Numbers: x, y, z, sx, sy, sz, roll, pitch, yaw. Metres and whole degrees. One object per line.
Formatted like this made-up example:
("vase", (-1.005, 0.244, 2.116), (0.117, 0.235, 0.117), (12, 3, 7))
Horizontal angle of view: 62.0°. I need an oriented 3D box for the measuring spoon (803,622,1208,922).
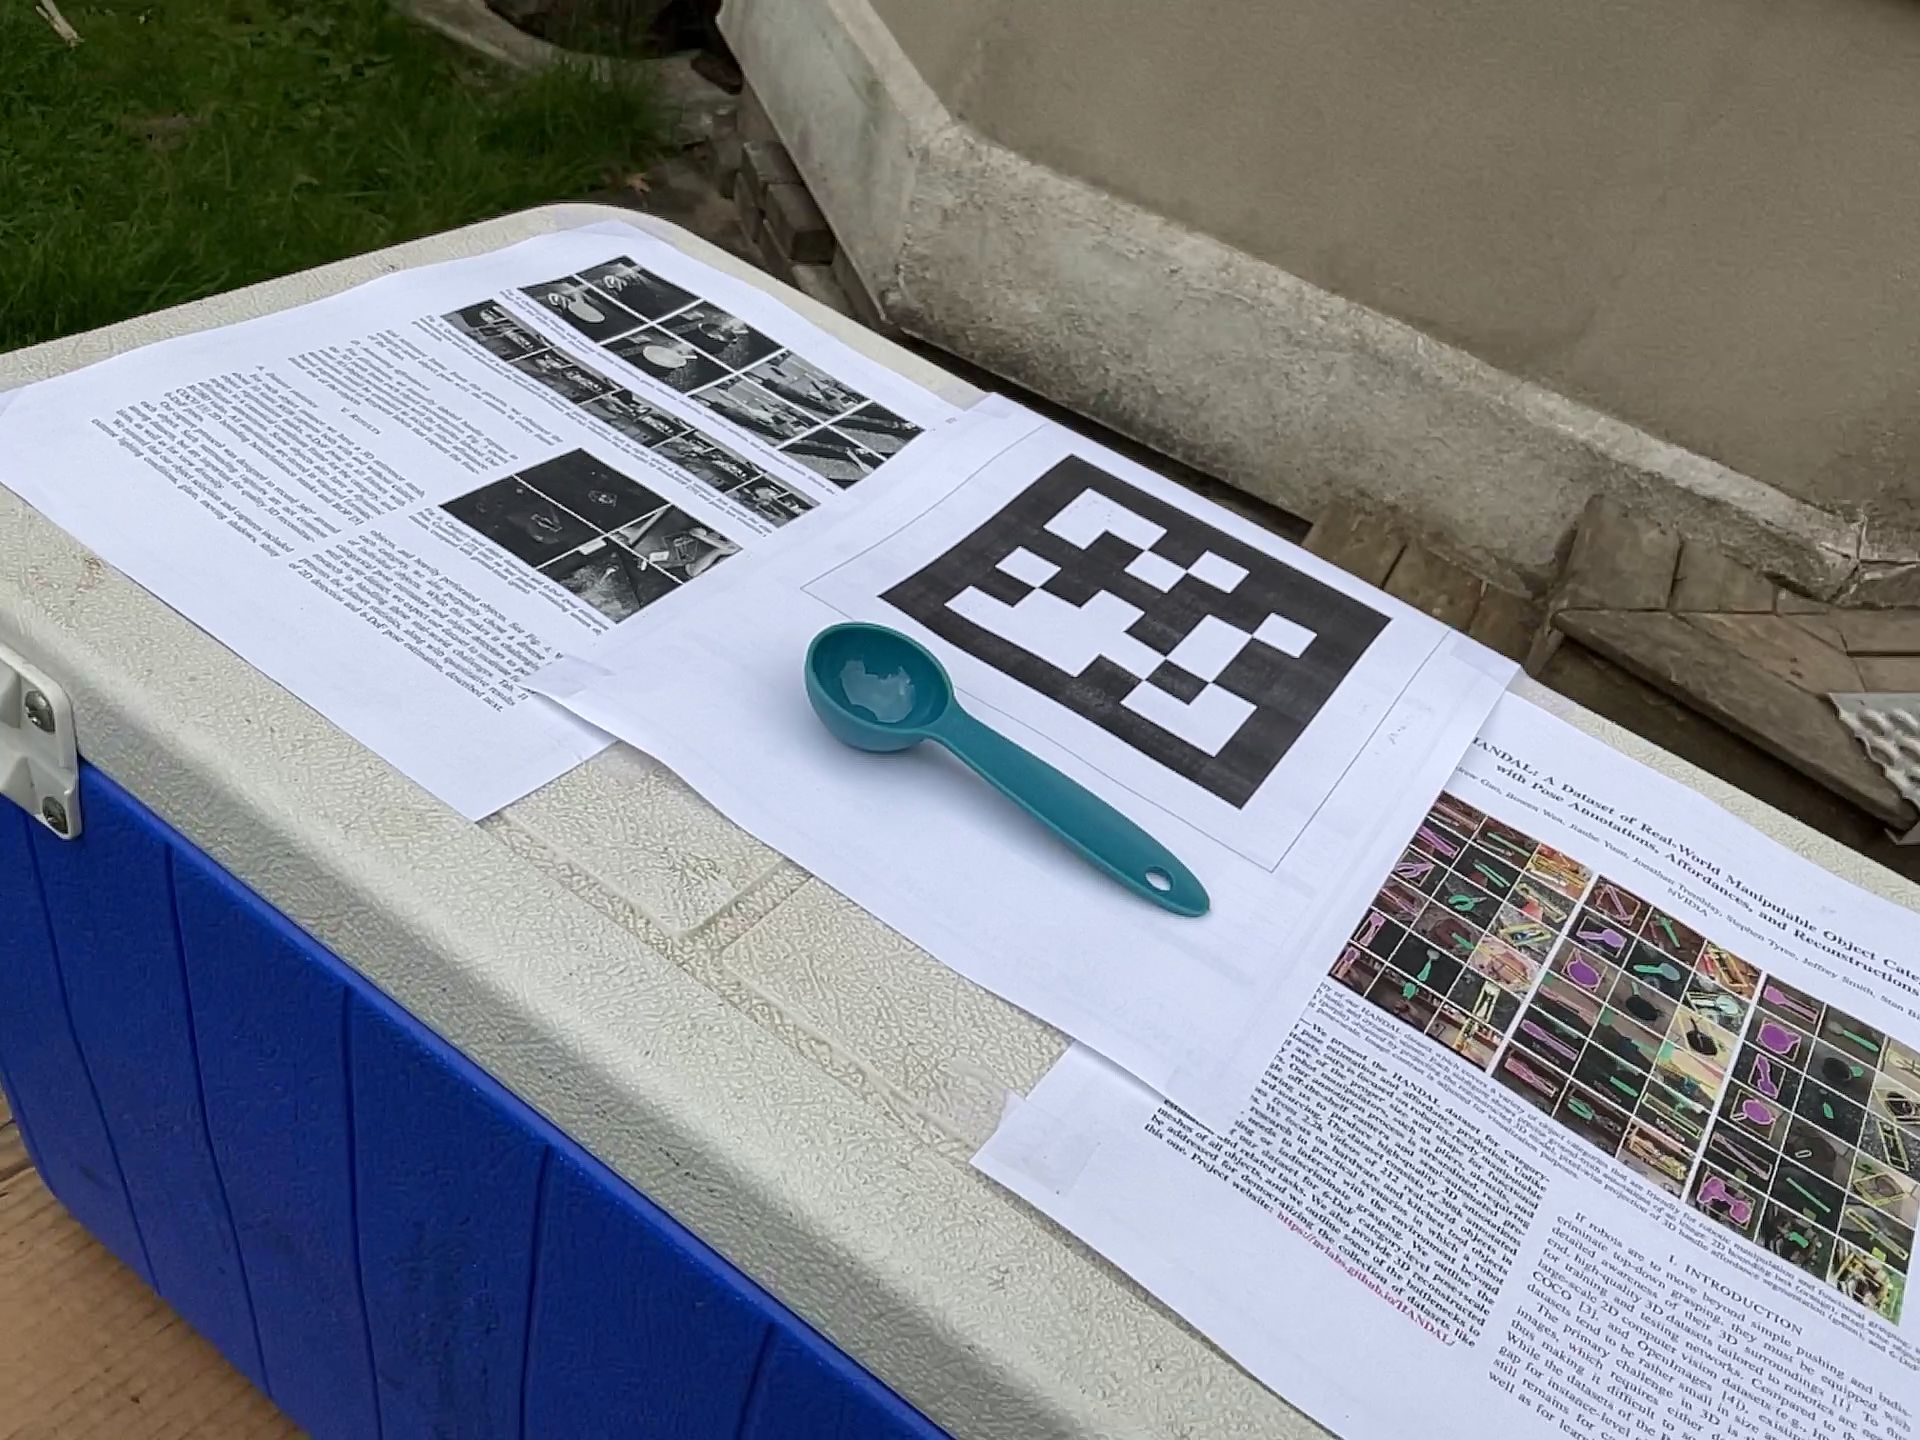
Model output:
("measuring spoon", (0.010, 0.019, 0.434), (0.128, 0.021, 0.042), (36, 41, 8))
